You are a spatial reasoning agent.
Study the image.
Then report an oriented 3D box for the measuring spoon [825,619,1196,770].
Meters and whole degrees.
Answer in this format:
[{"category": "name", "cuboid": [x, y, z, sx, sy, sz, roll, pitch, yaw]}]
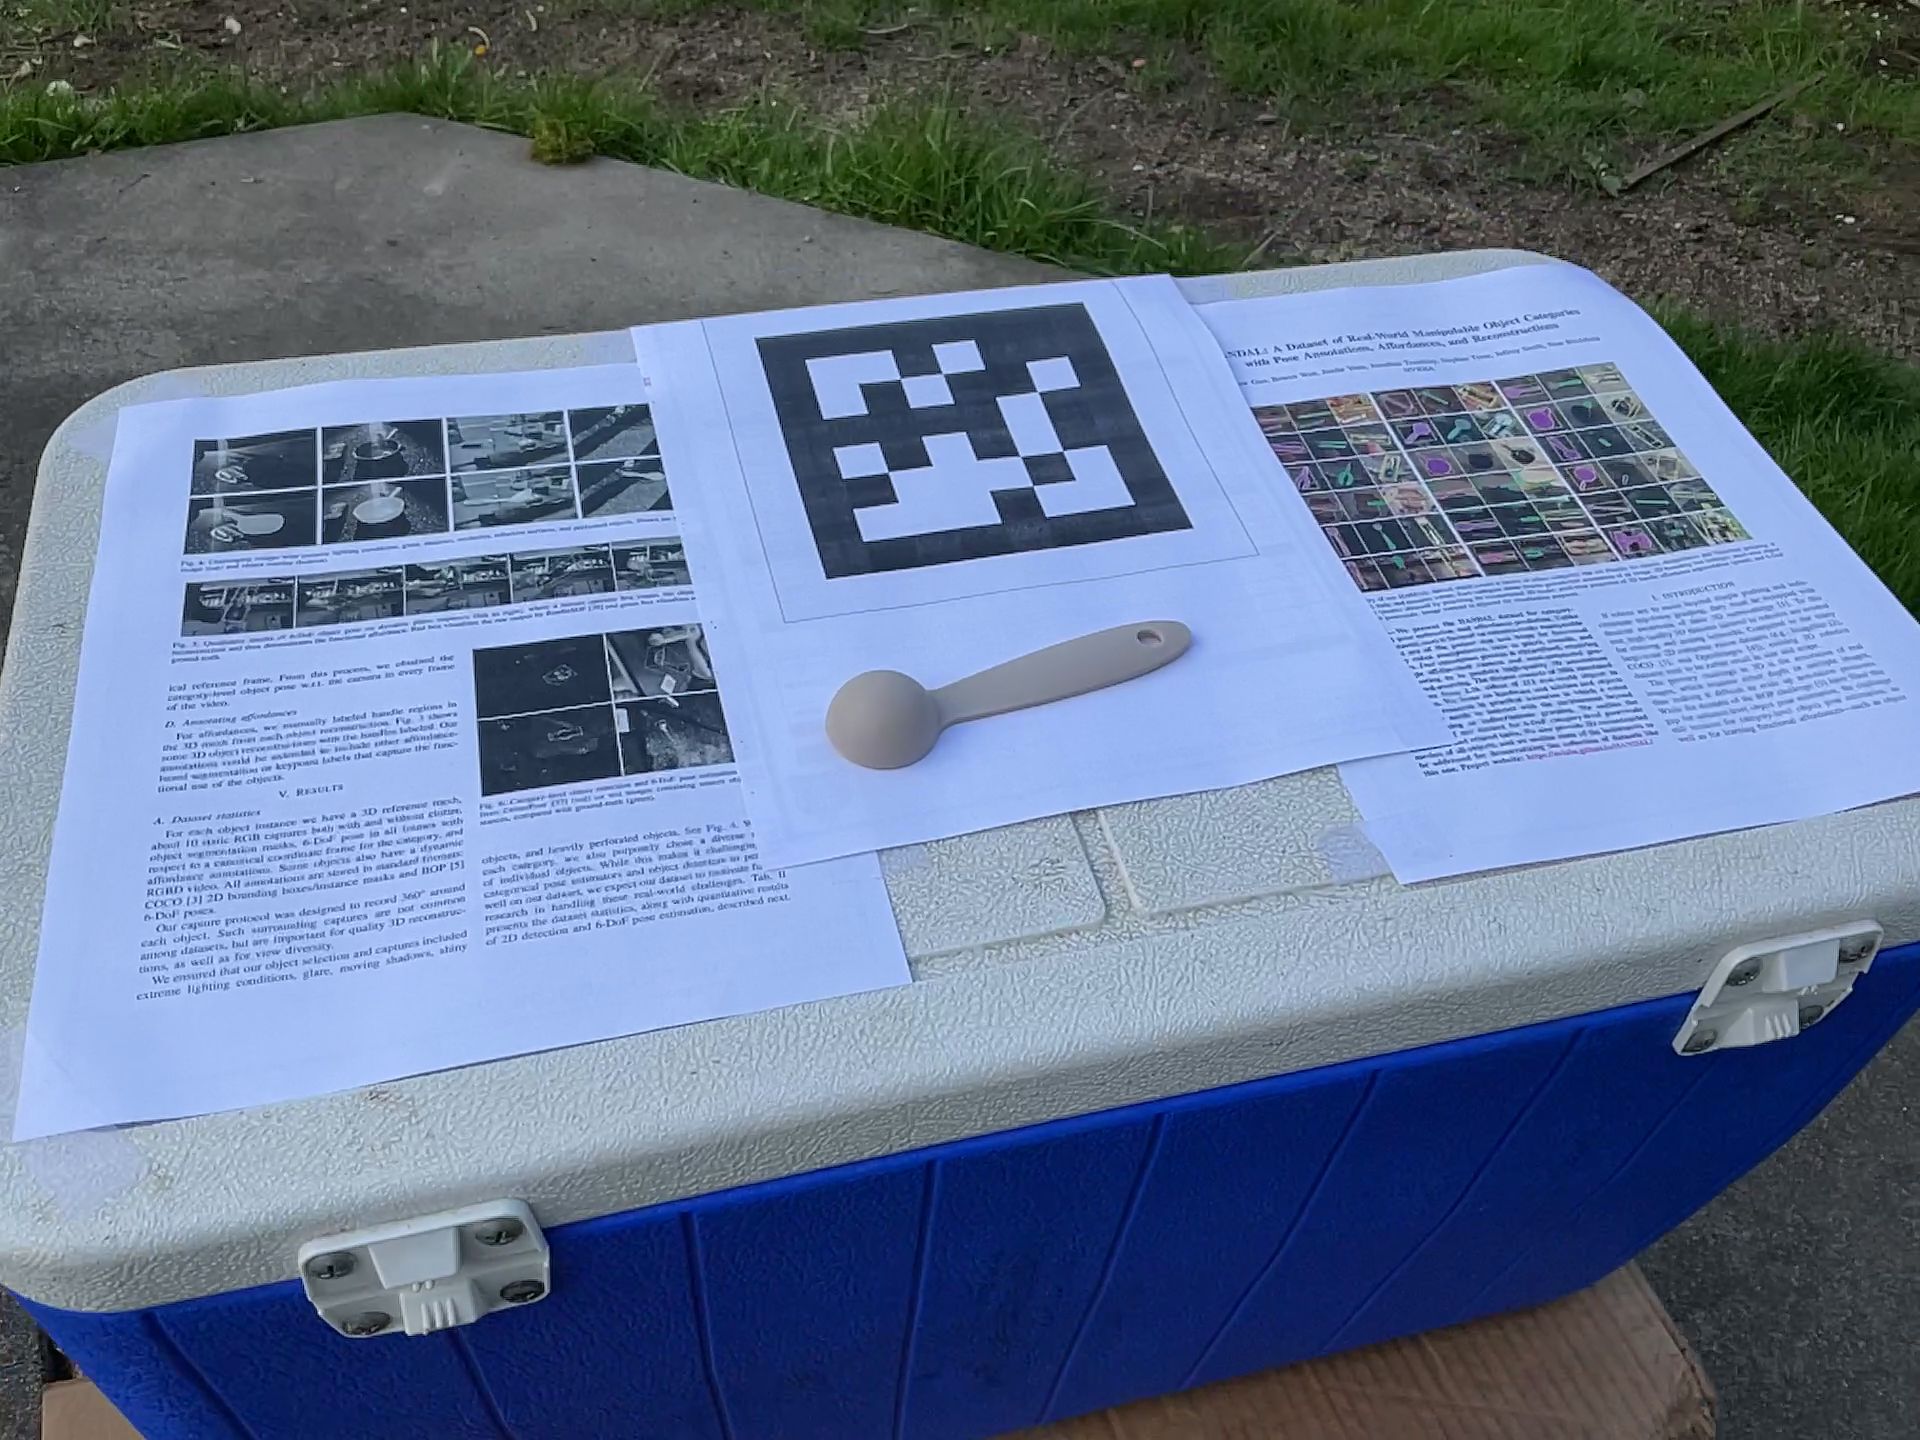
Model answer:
[{"category": "measuring spoon", "cuboid": [0.018, -0.016, 0.484, 0.124, 0.018, 0.034, -17, 51, -19]}]
